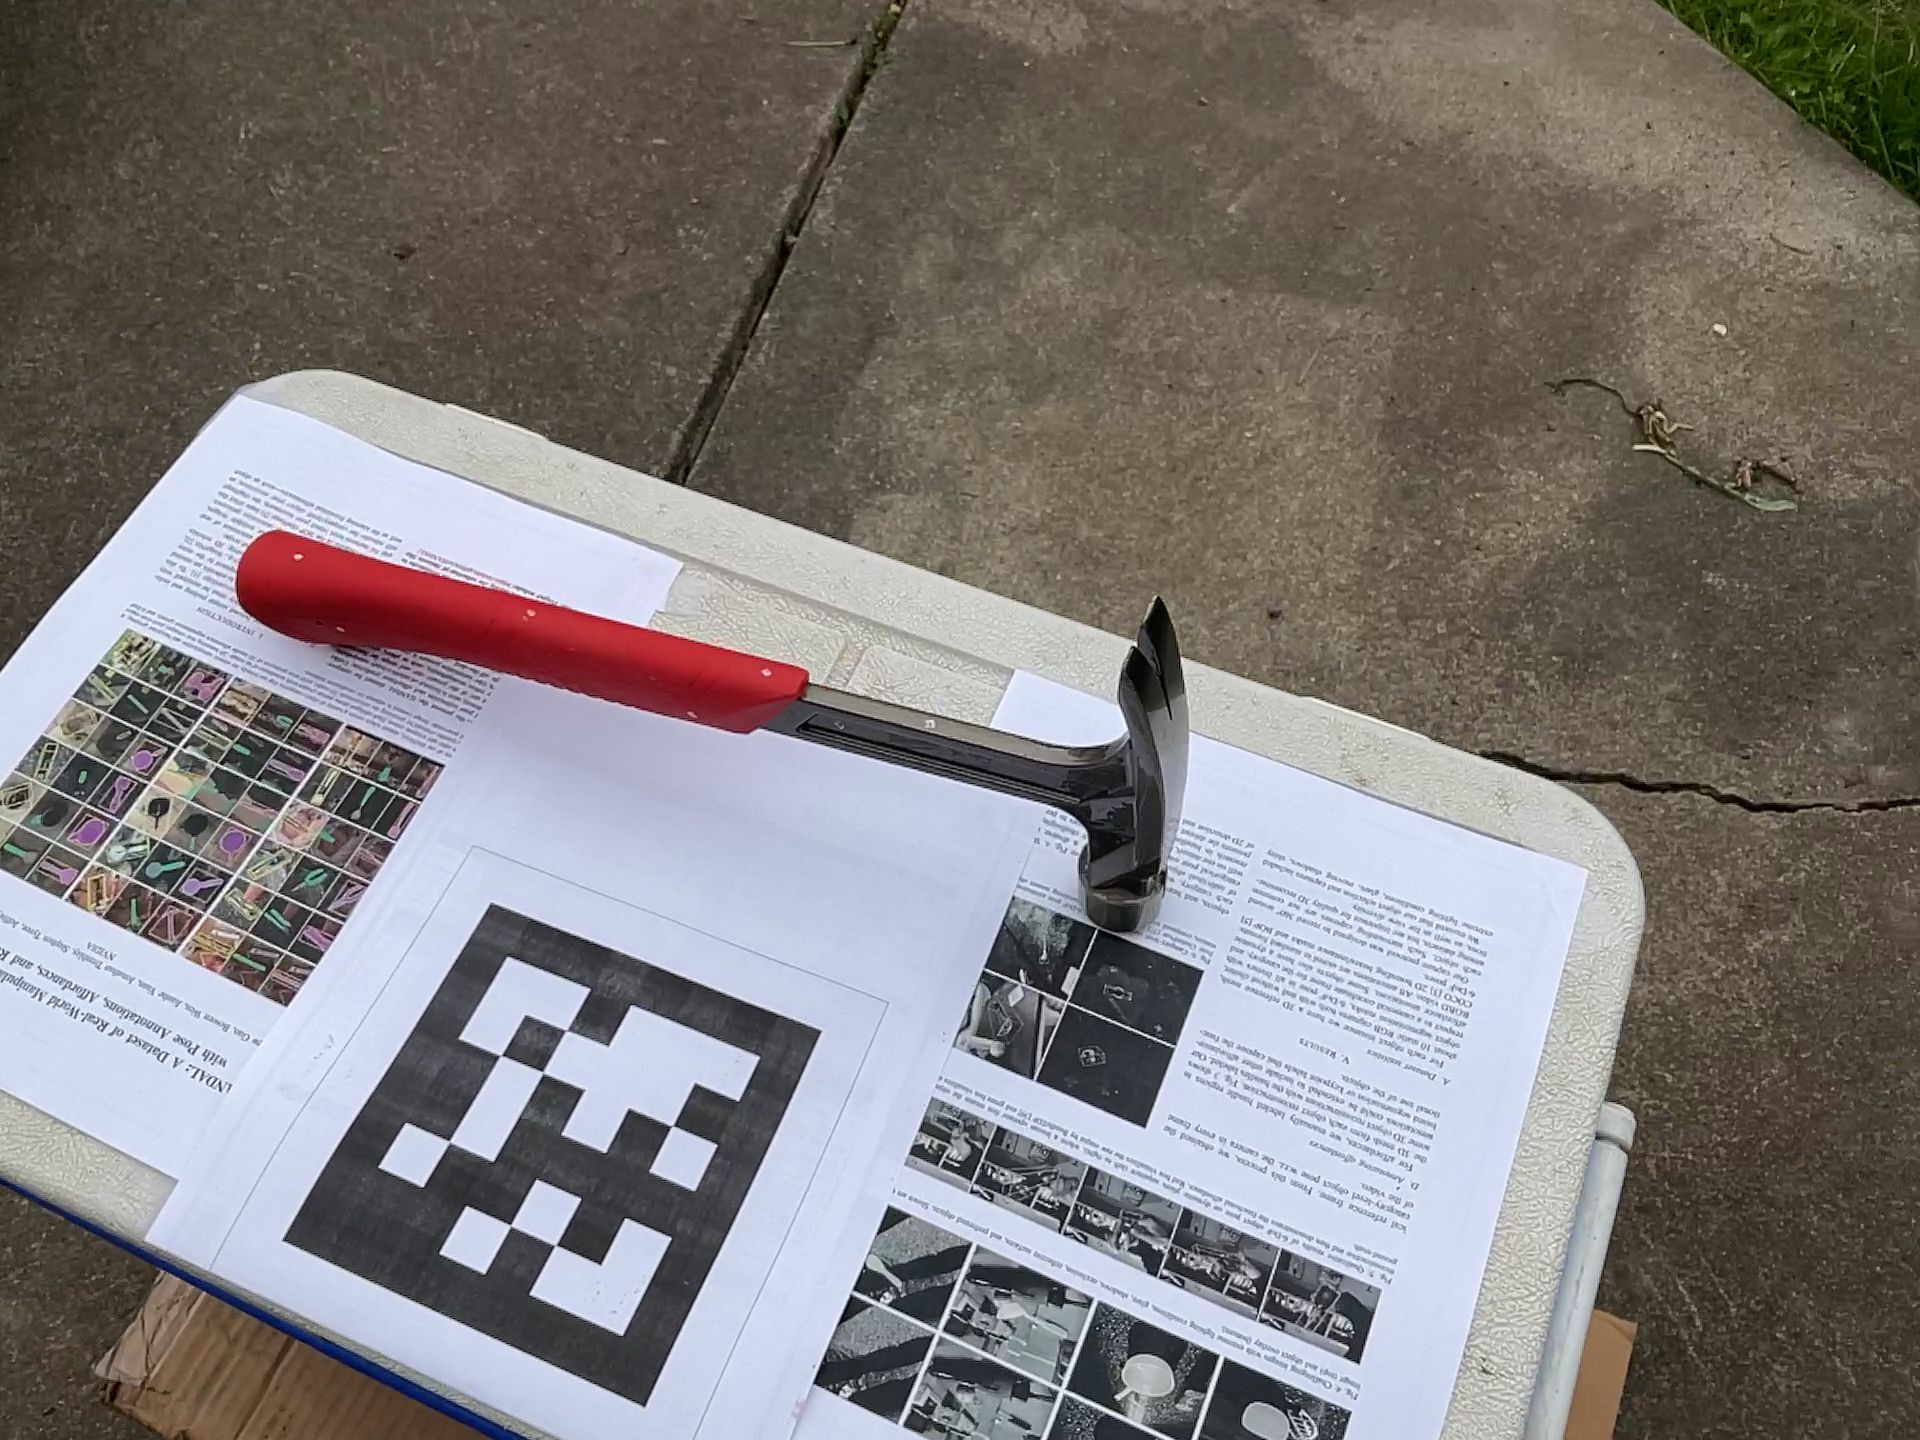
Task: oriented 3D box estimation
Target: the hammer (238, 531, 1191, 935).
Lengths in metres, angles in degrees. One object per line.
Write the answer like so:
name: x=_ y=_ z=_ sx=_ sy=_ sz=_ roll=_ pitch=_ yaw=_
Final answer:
hammer: x=-0.098 y=-0.019 z=0.552 sx=0.359 sy=0.149 sz=0.037 roll=15 pitch=56 yaw=17
